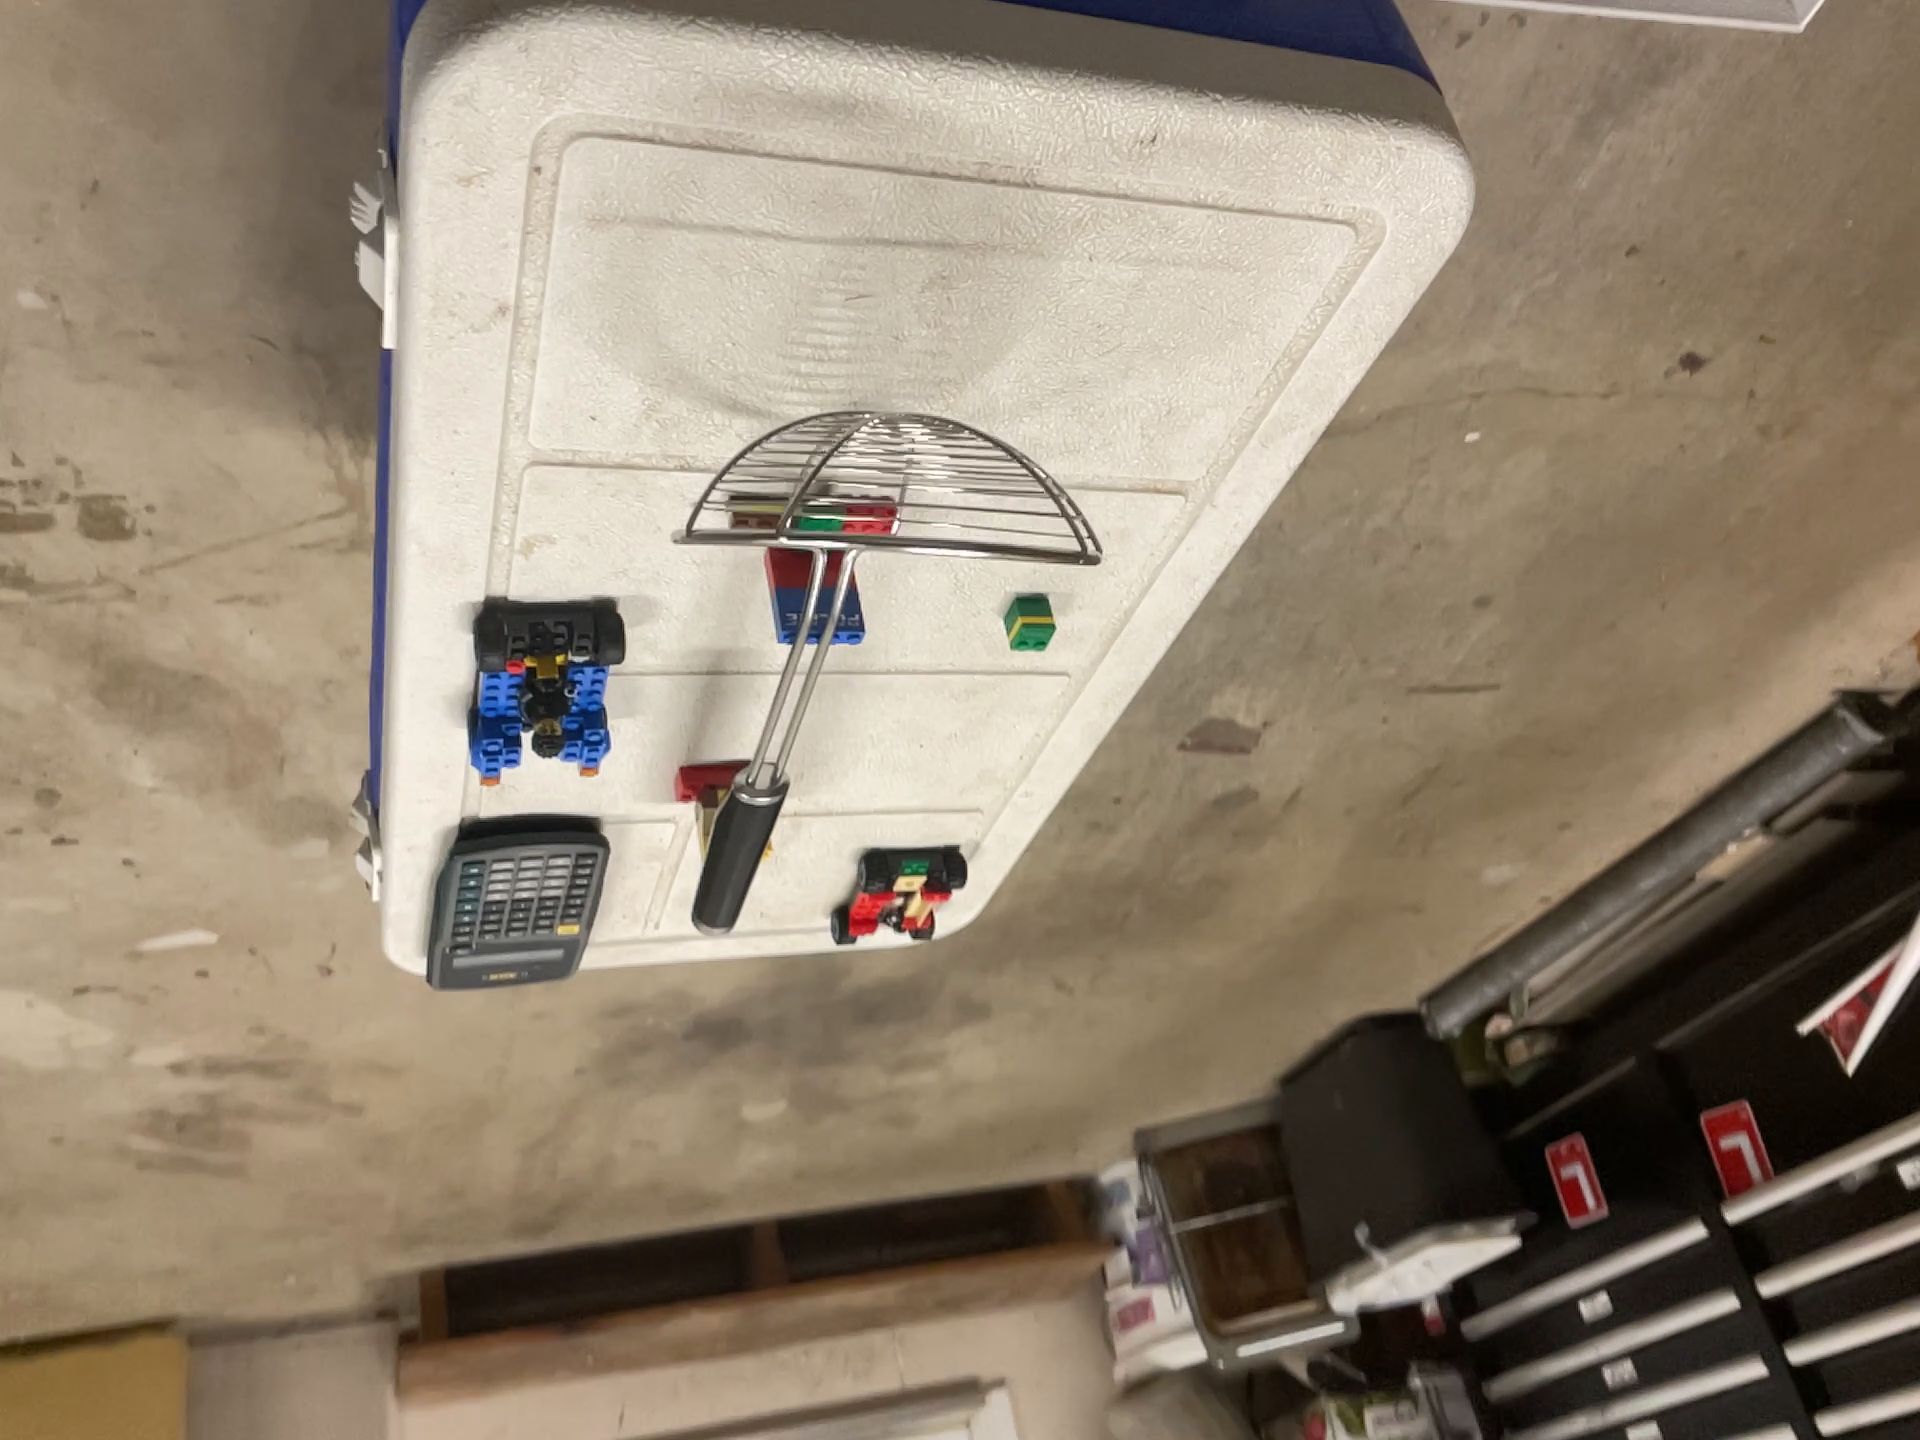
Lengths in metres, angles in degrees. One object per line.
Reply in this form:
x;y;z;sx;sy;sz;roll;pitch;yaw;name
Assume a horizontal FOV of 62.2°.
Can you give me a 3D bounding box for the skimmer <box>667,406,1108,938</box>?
-0.058;0.017;0.568;0.127;0.090;0.362;1;147;-19;skimmer
